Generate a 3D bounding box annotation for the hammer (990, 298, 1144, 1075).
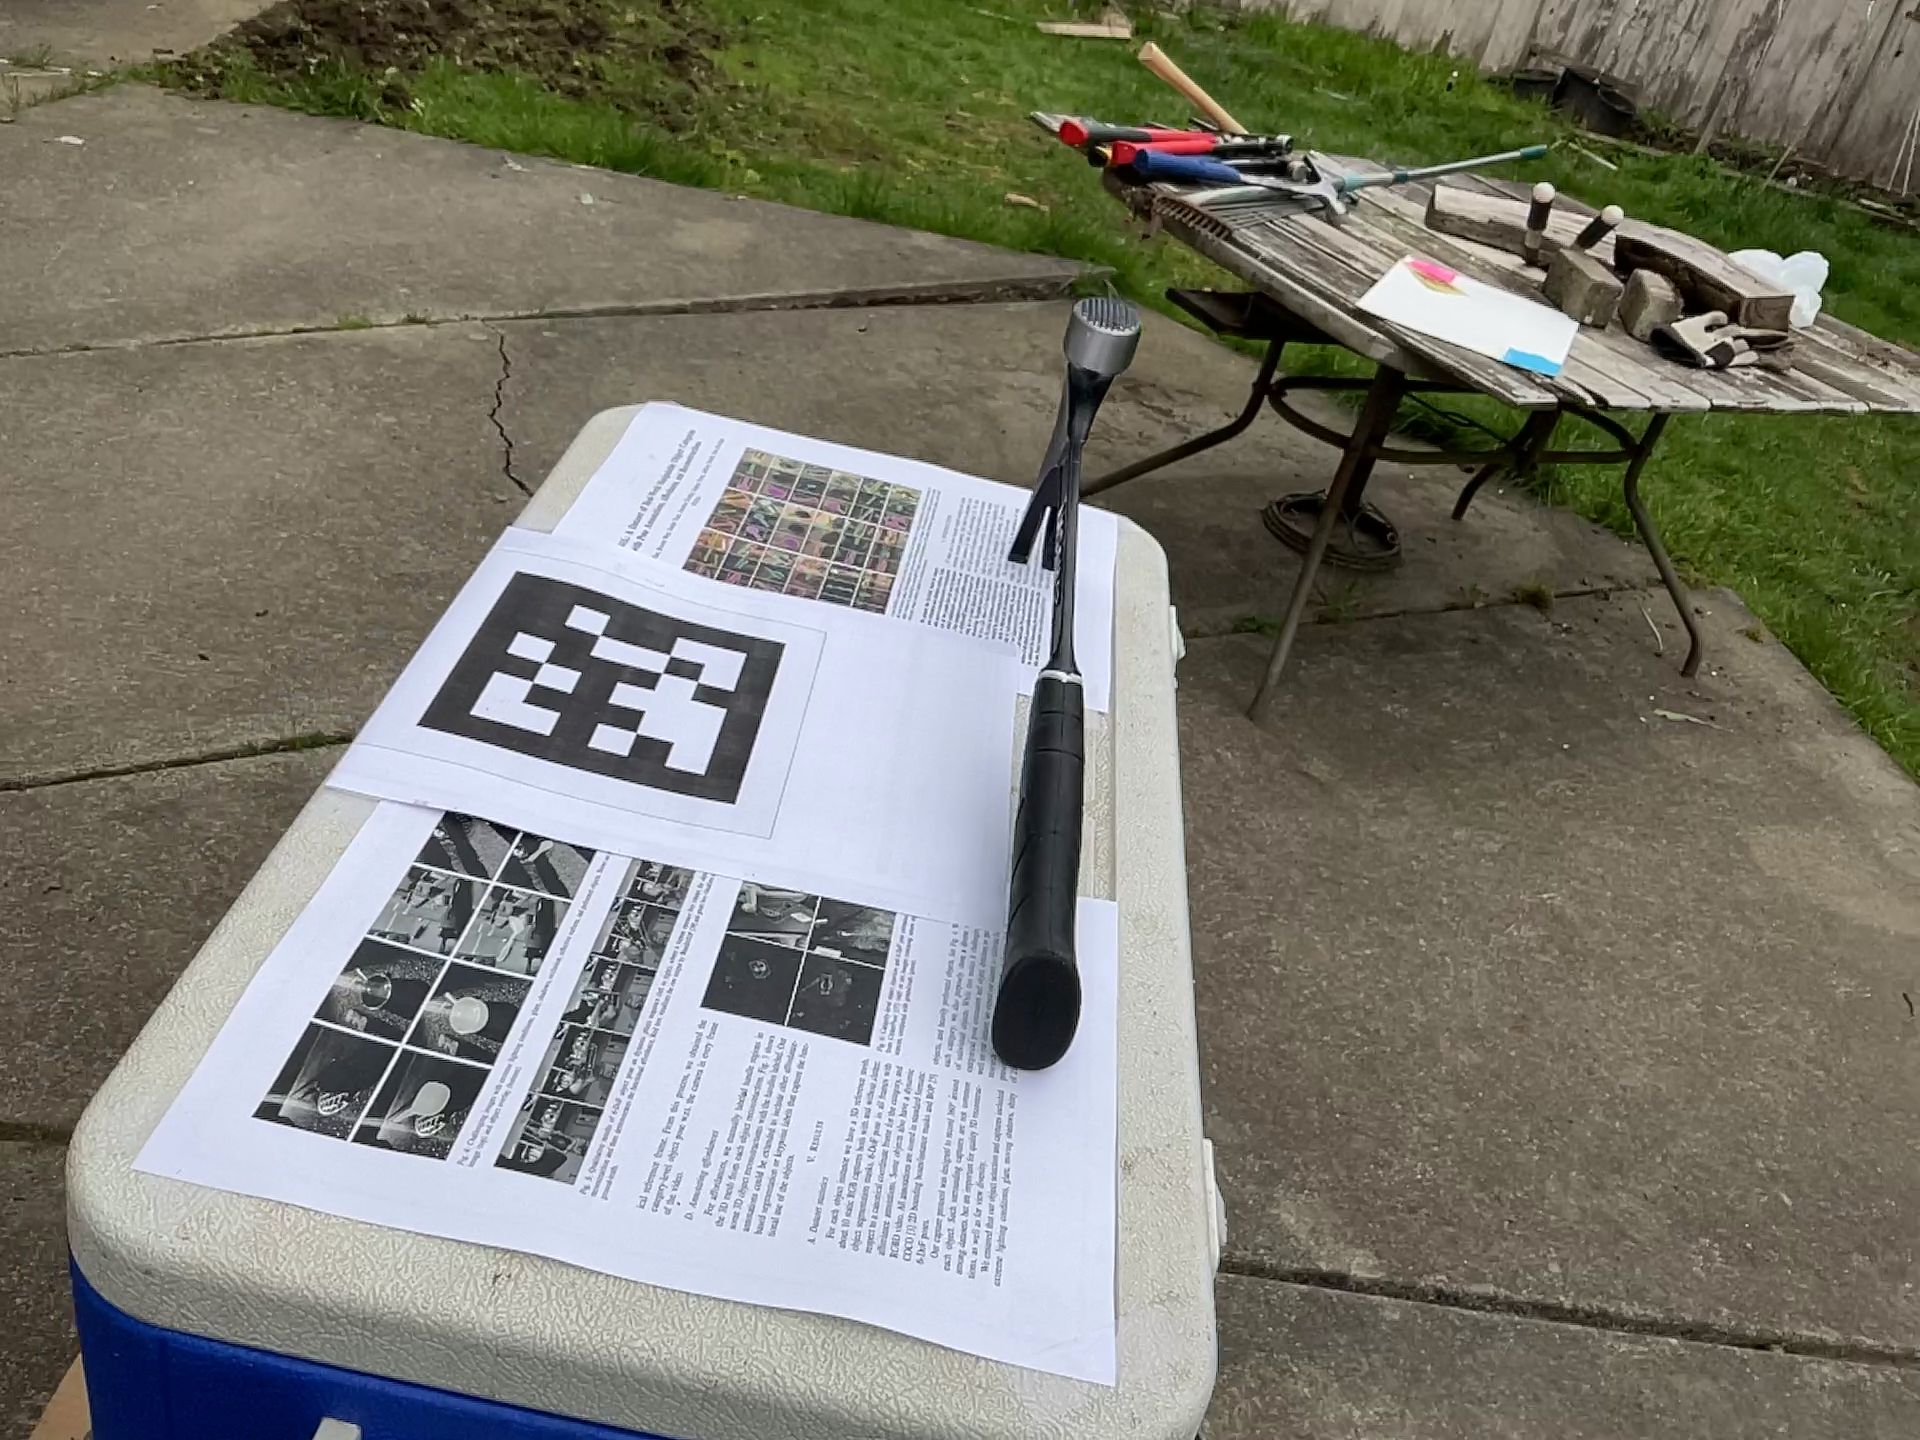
[{"bbox_3d":[0.041,-0.023,0.696,0.036,0.149,0.409,13,42,-4],"label":"hammer"}]
